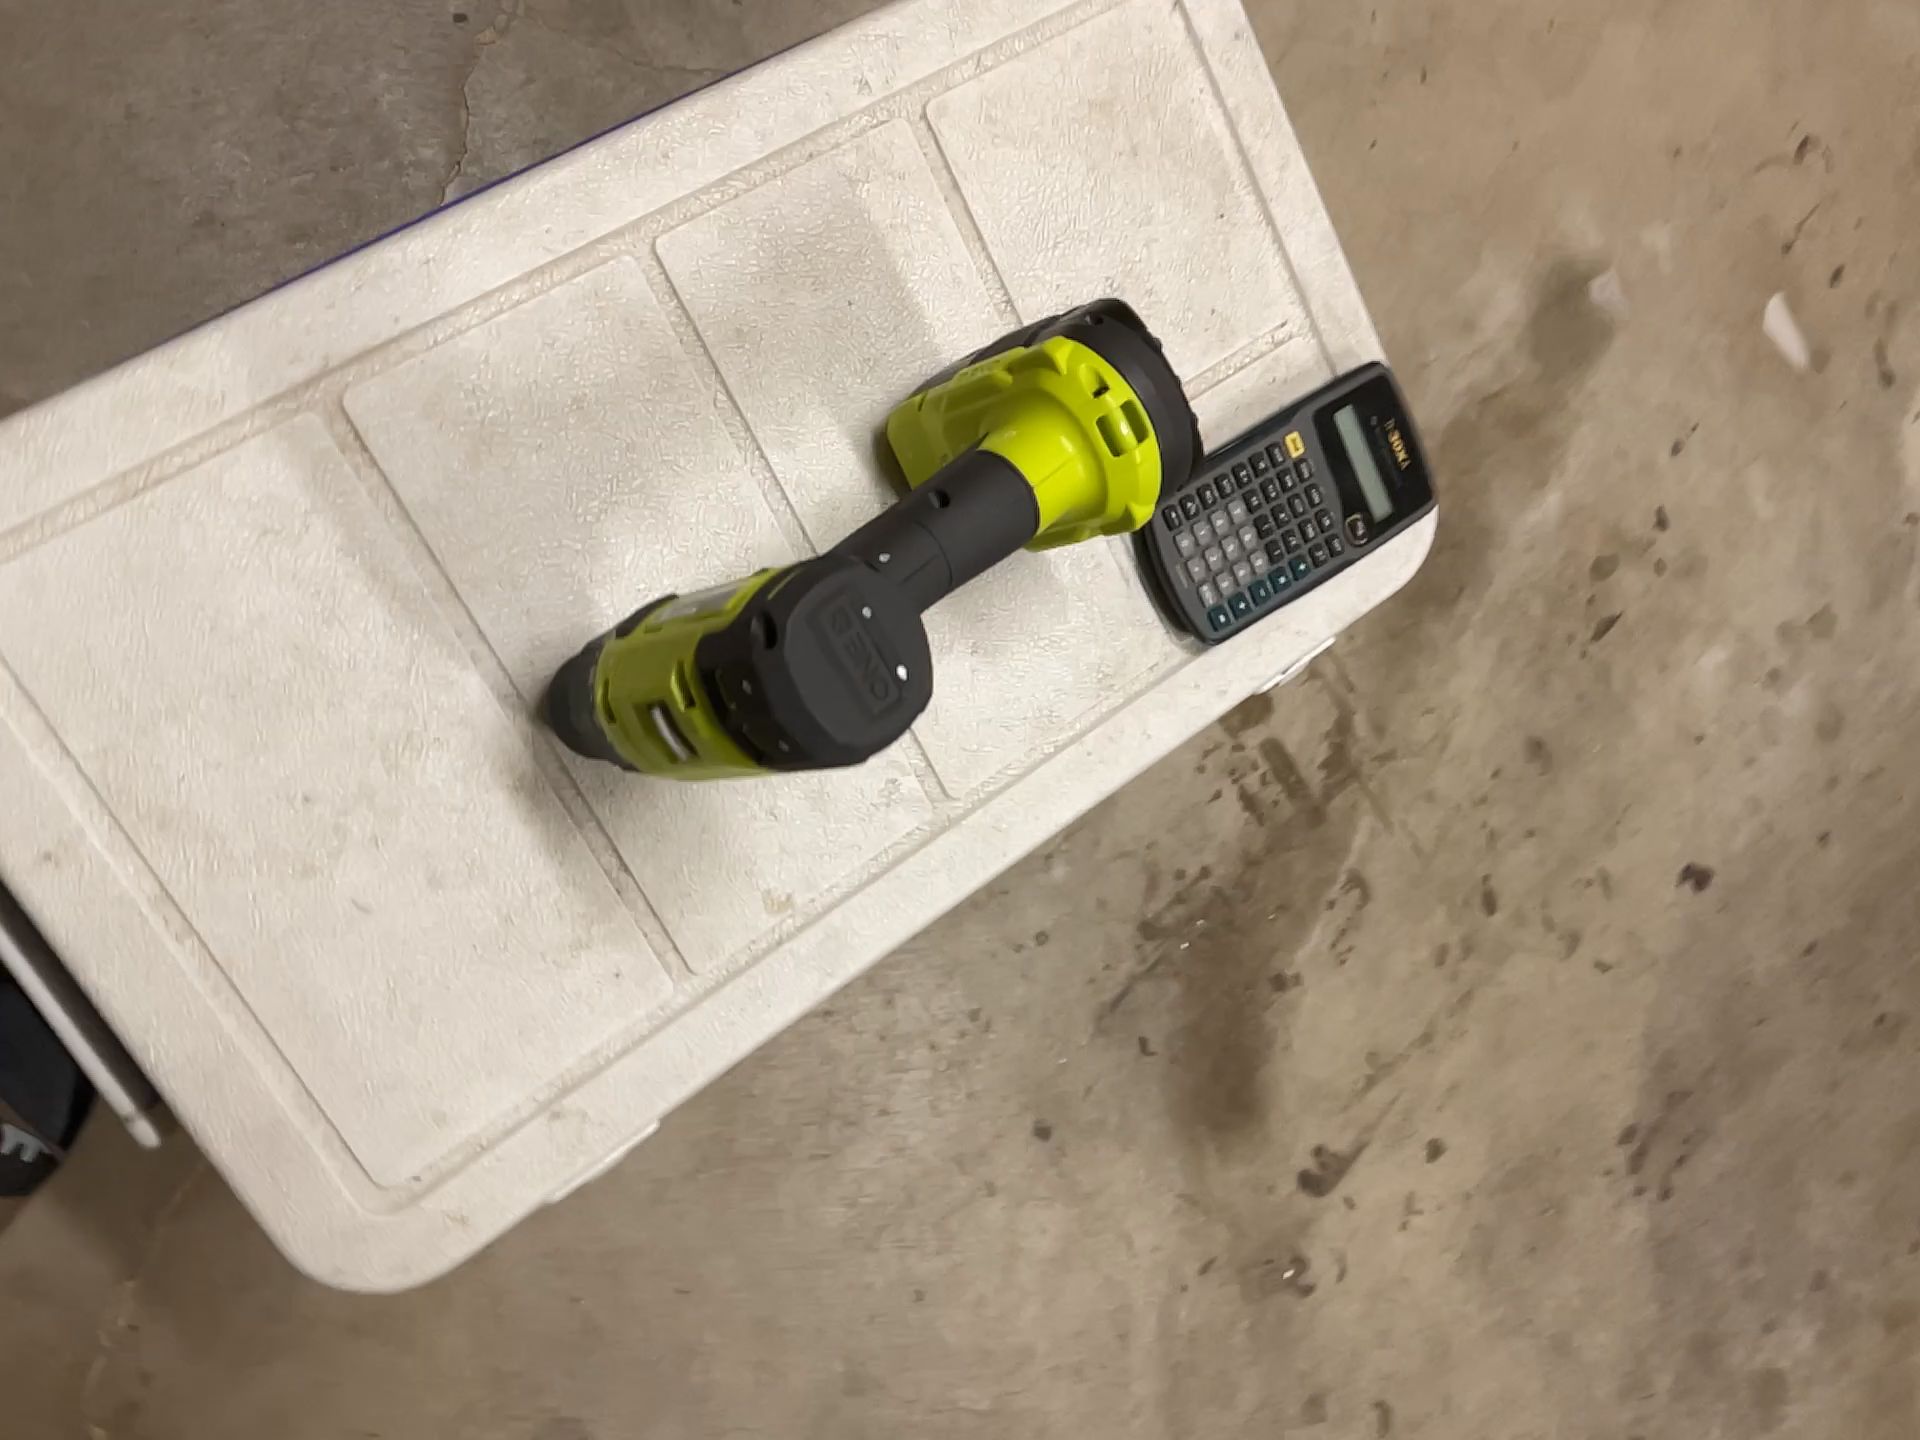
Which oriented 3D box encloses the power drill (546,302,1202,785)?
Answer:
[{"bbox_3d":[-0.037,-0.056,0.582,0.229,0.190,0.080,-41,110,-33],"label":"power drill"}]
